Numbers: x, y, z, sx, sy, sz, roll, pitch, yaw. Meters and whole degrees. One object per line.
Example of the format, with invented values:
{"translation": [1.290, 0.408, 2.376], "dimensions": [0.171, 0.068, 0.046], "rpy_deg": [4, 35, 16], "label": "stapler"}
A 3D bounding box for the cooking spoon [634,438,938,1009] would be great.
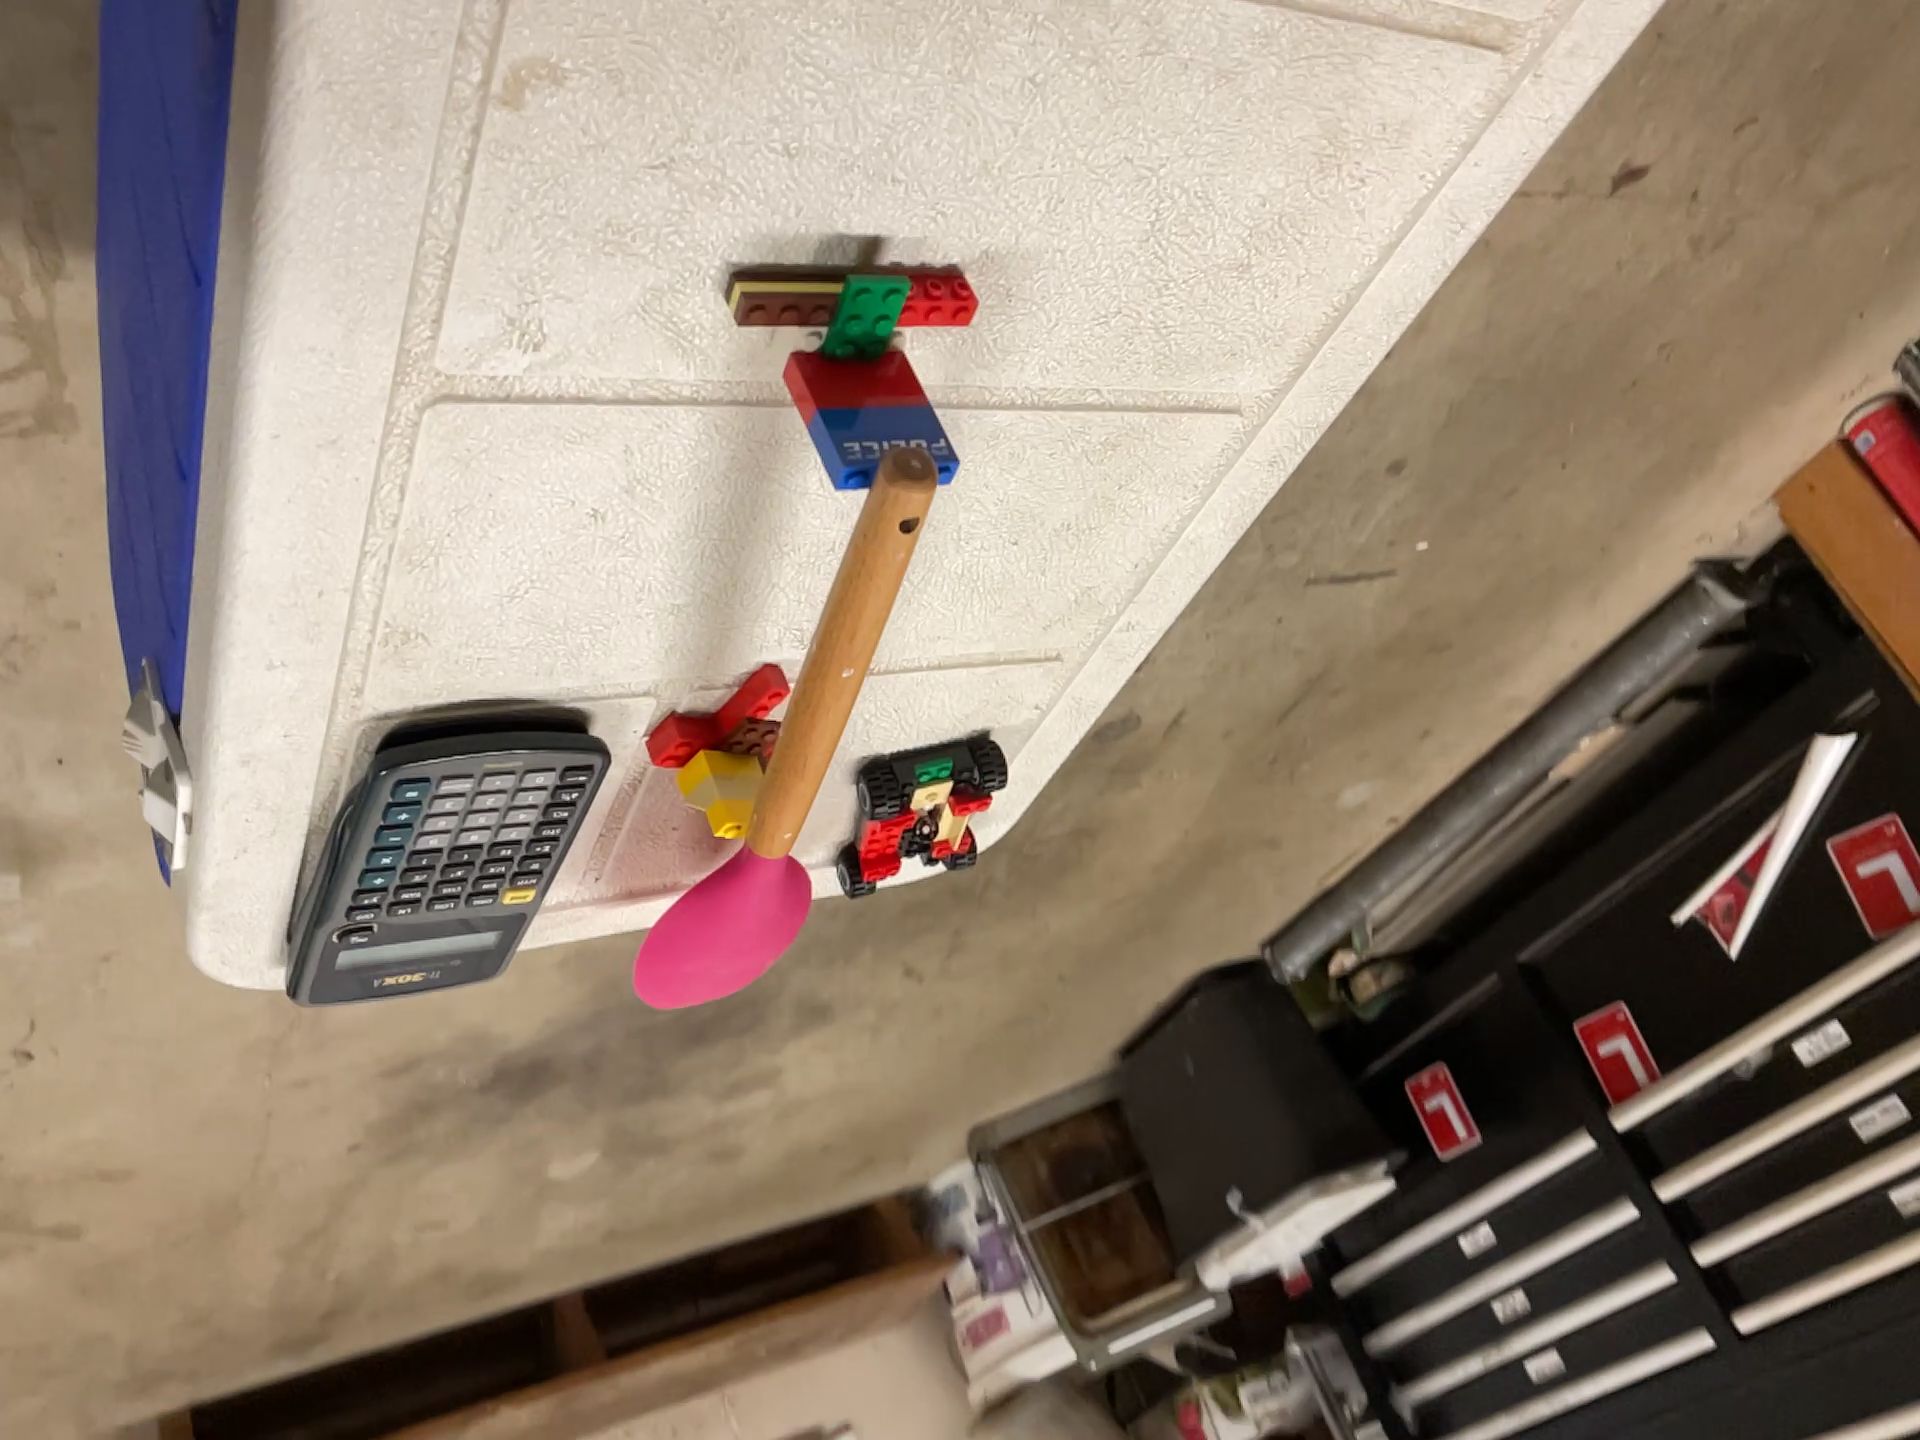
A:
{"translation": [-0.055, 0.024, 0.494], "dimensions": [0.069, 0.017, 0.318], "rpy_deg": [-16, 154, -27], "label": "cooking spoon"}
